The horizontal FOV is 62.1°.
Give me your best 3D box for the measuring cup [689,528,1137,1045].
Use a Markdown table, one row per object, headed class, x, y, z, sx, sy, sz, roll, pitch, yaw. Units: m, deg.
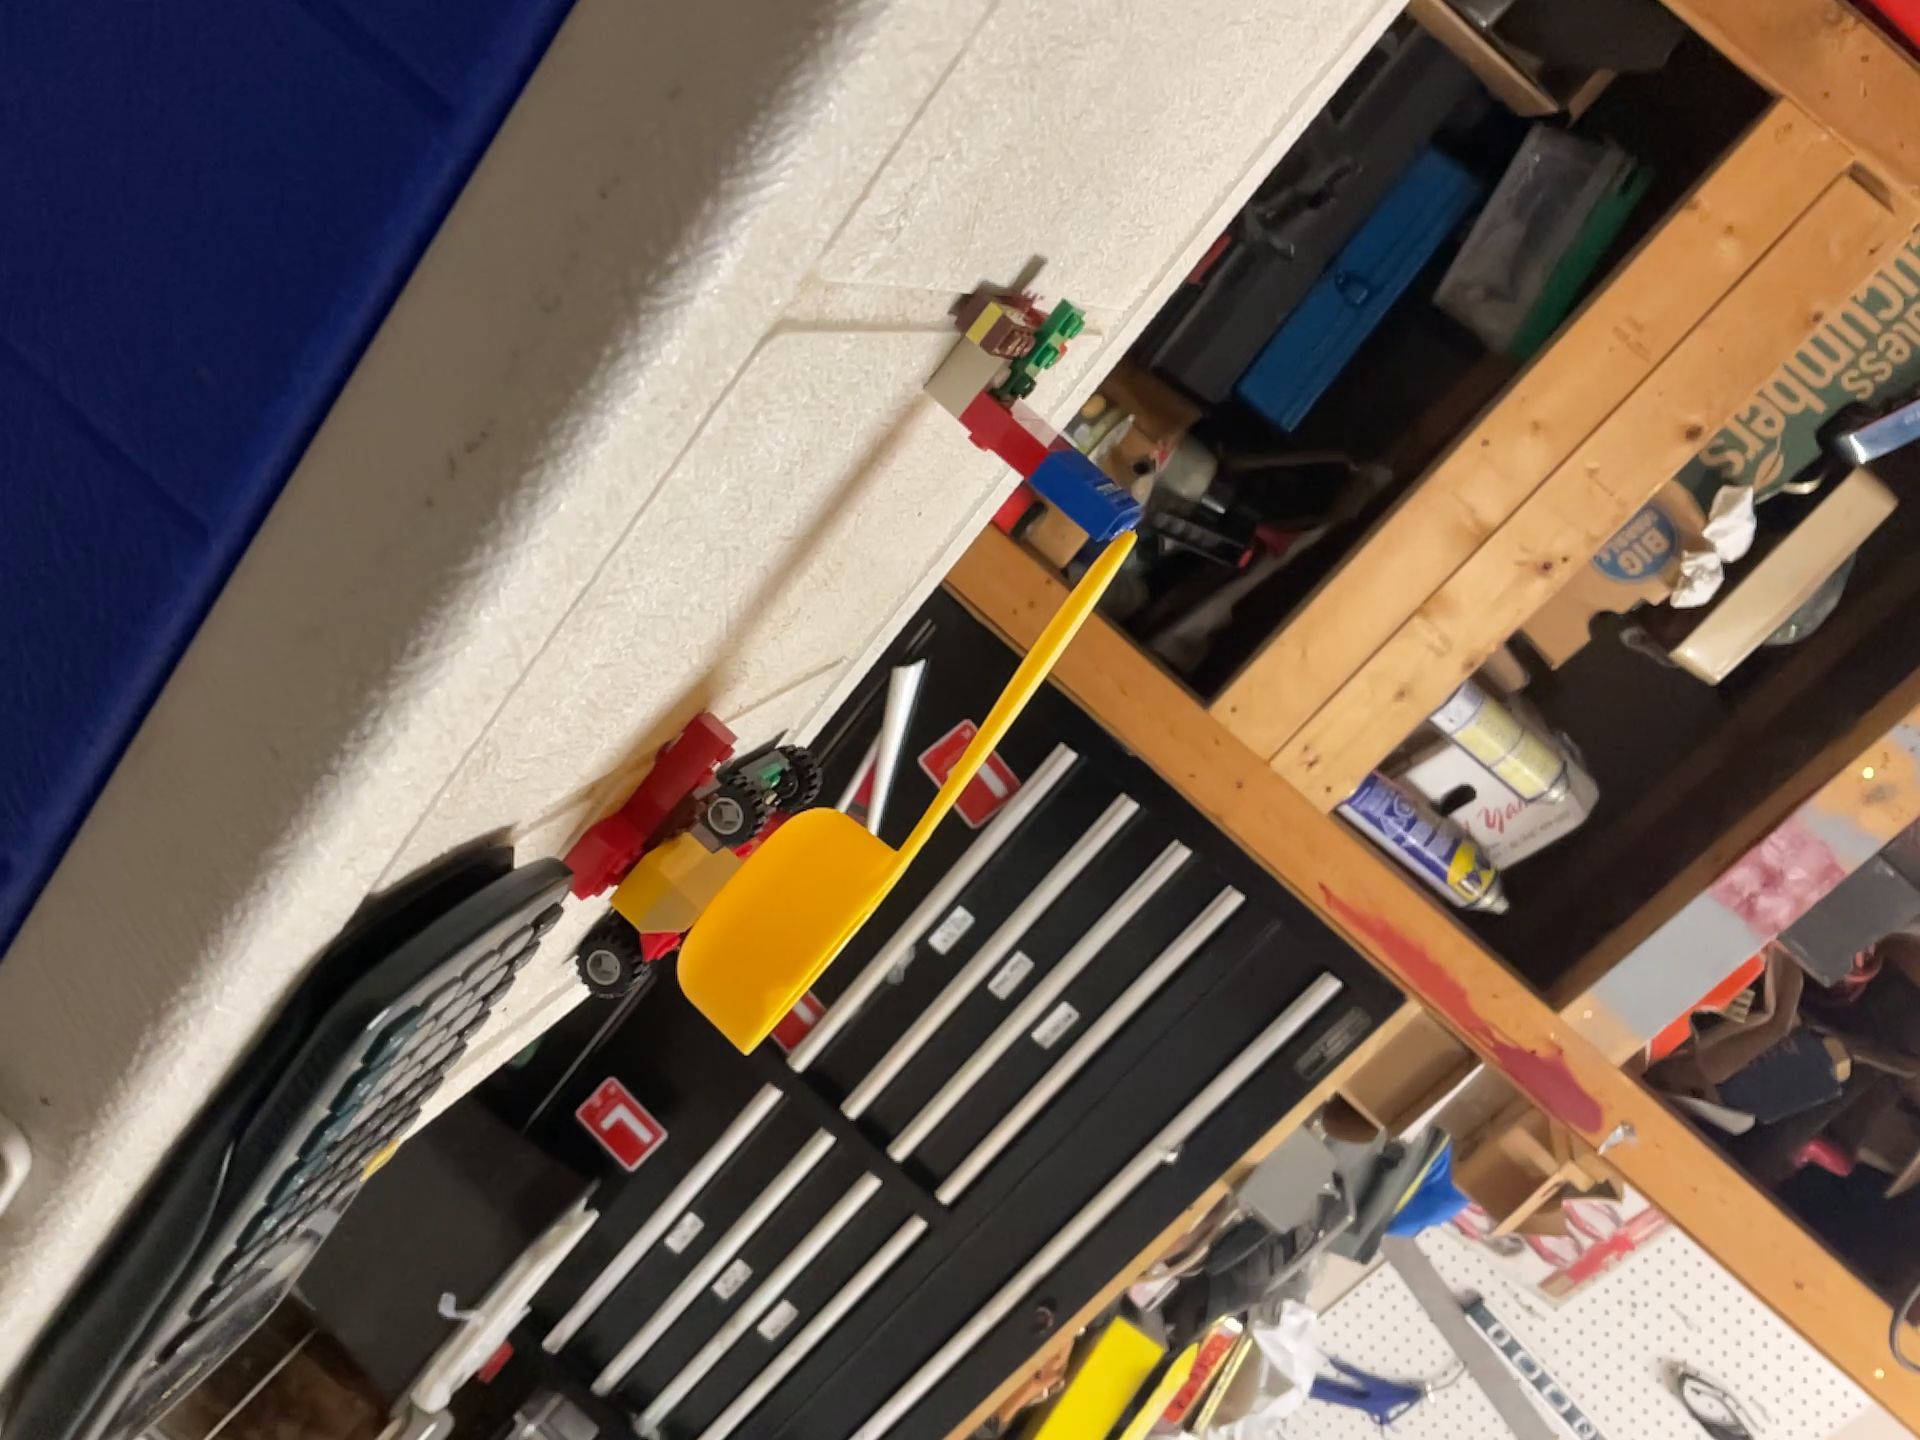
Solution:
| class | x | y | z | sx | sy | sz | roll | pitch | yaw |
| --- | --- | --- | --- | --- | --- | --- | --- | --- | --- |
| measuring cup | -0.014 | 0.011 | 0.374 | 0.156 | 0.029 | 0.062 | -54 | 175 | 20 |
